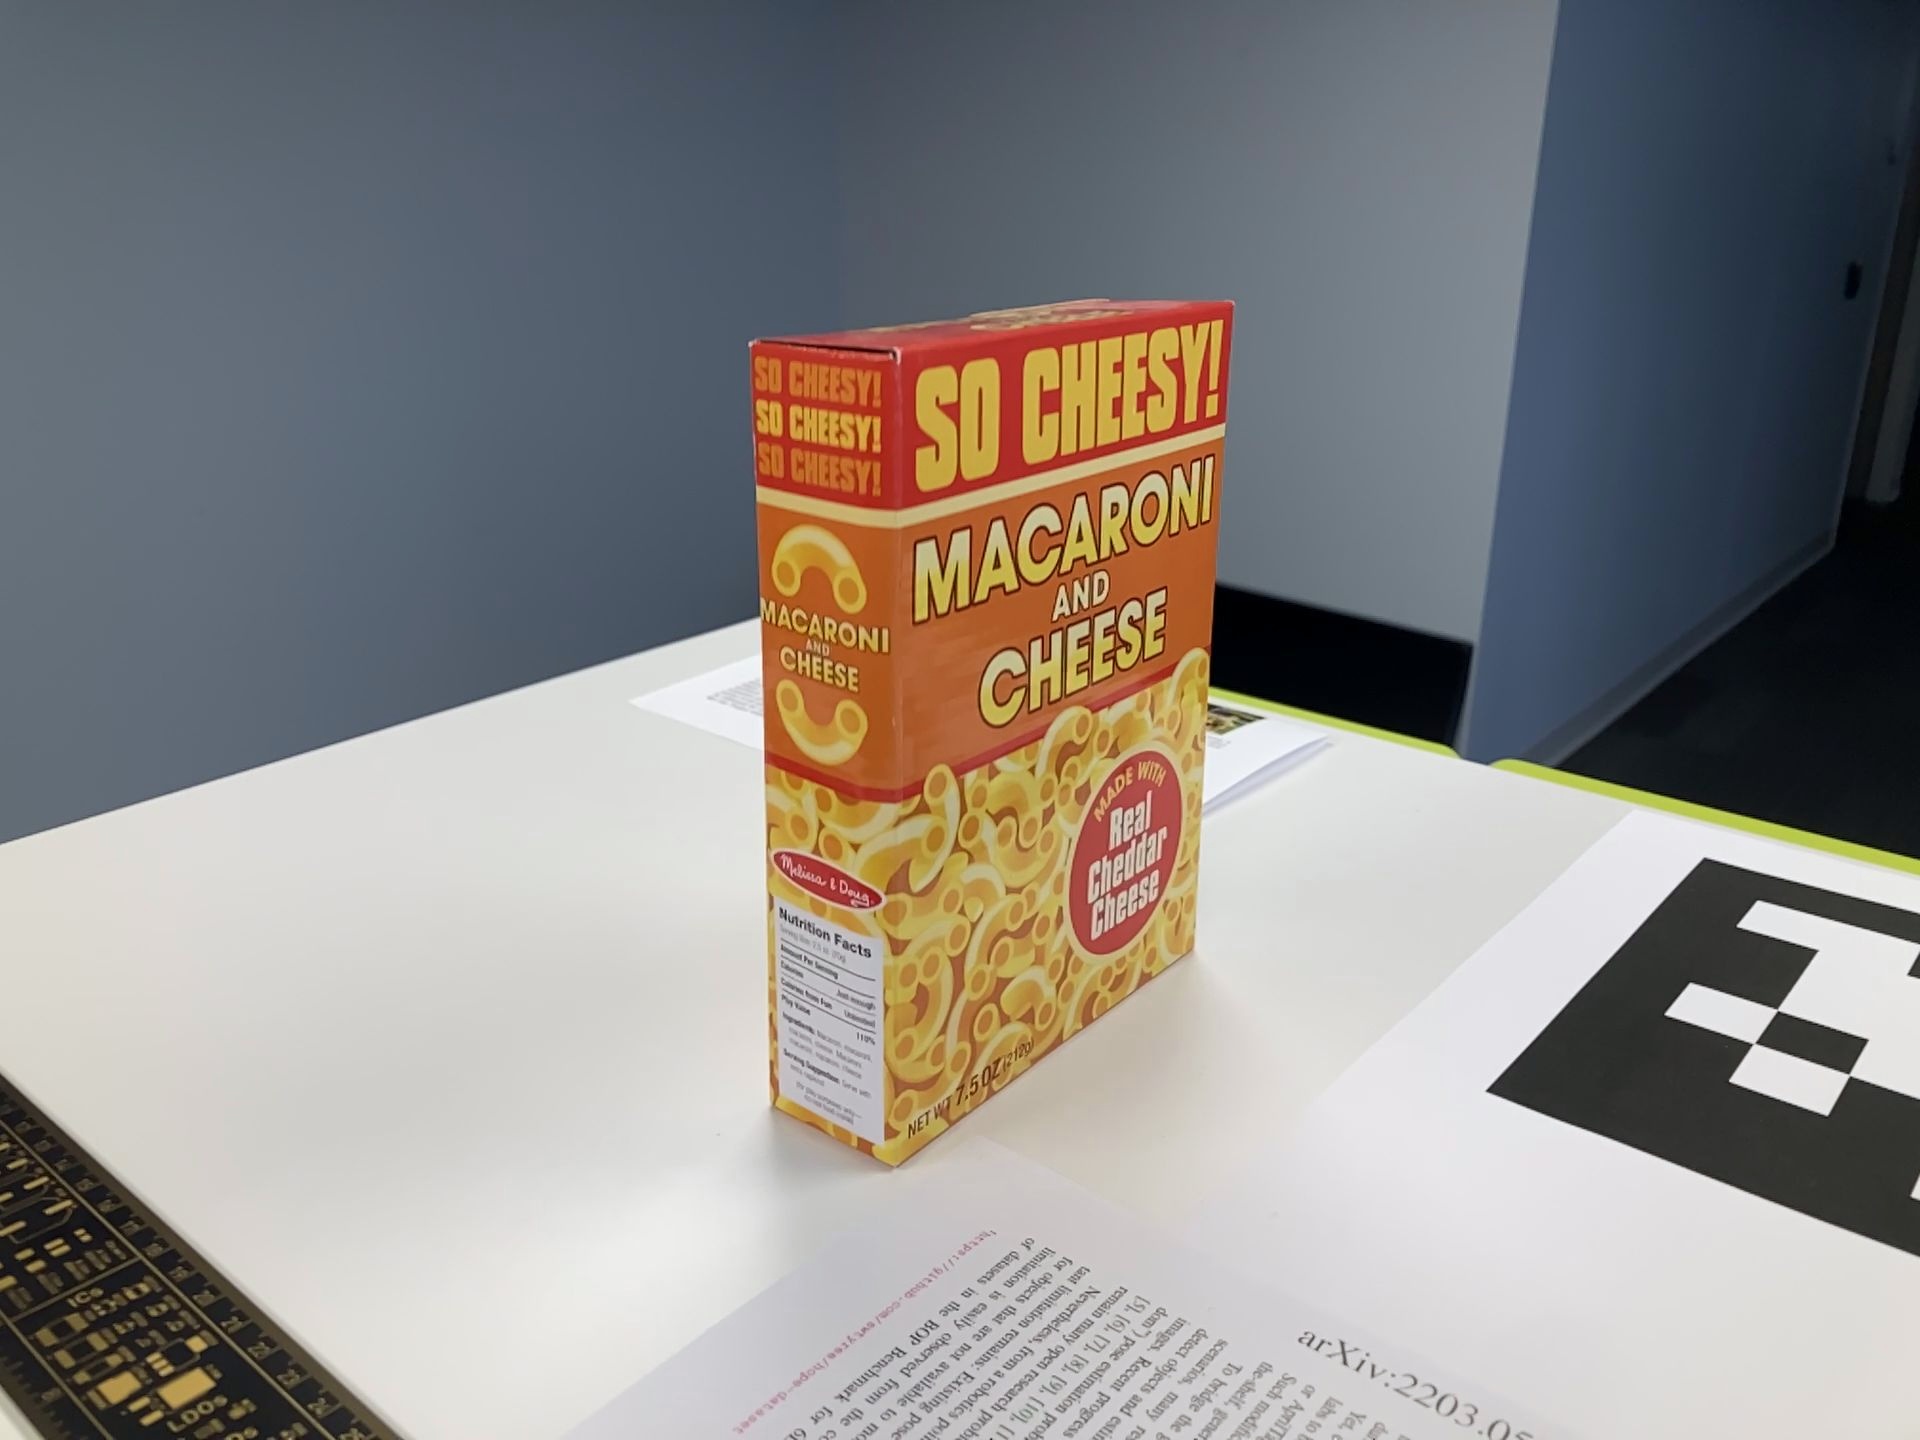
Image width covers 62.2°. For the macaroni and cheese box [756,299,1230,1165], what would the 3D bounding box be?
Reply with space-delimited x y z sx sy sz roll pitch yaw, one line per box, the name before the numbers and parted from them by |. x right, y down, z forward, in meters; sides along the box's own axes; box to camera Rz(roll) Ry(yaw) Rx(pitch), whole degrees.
macaroni and cheese box | 0.010 -0.005 0.358 0.040 0.166 0.124 14 24 34
